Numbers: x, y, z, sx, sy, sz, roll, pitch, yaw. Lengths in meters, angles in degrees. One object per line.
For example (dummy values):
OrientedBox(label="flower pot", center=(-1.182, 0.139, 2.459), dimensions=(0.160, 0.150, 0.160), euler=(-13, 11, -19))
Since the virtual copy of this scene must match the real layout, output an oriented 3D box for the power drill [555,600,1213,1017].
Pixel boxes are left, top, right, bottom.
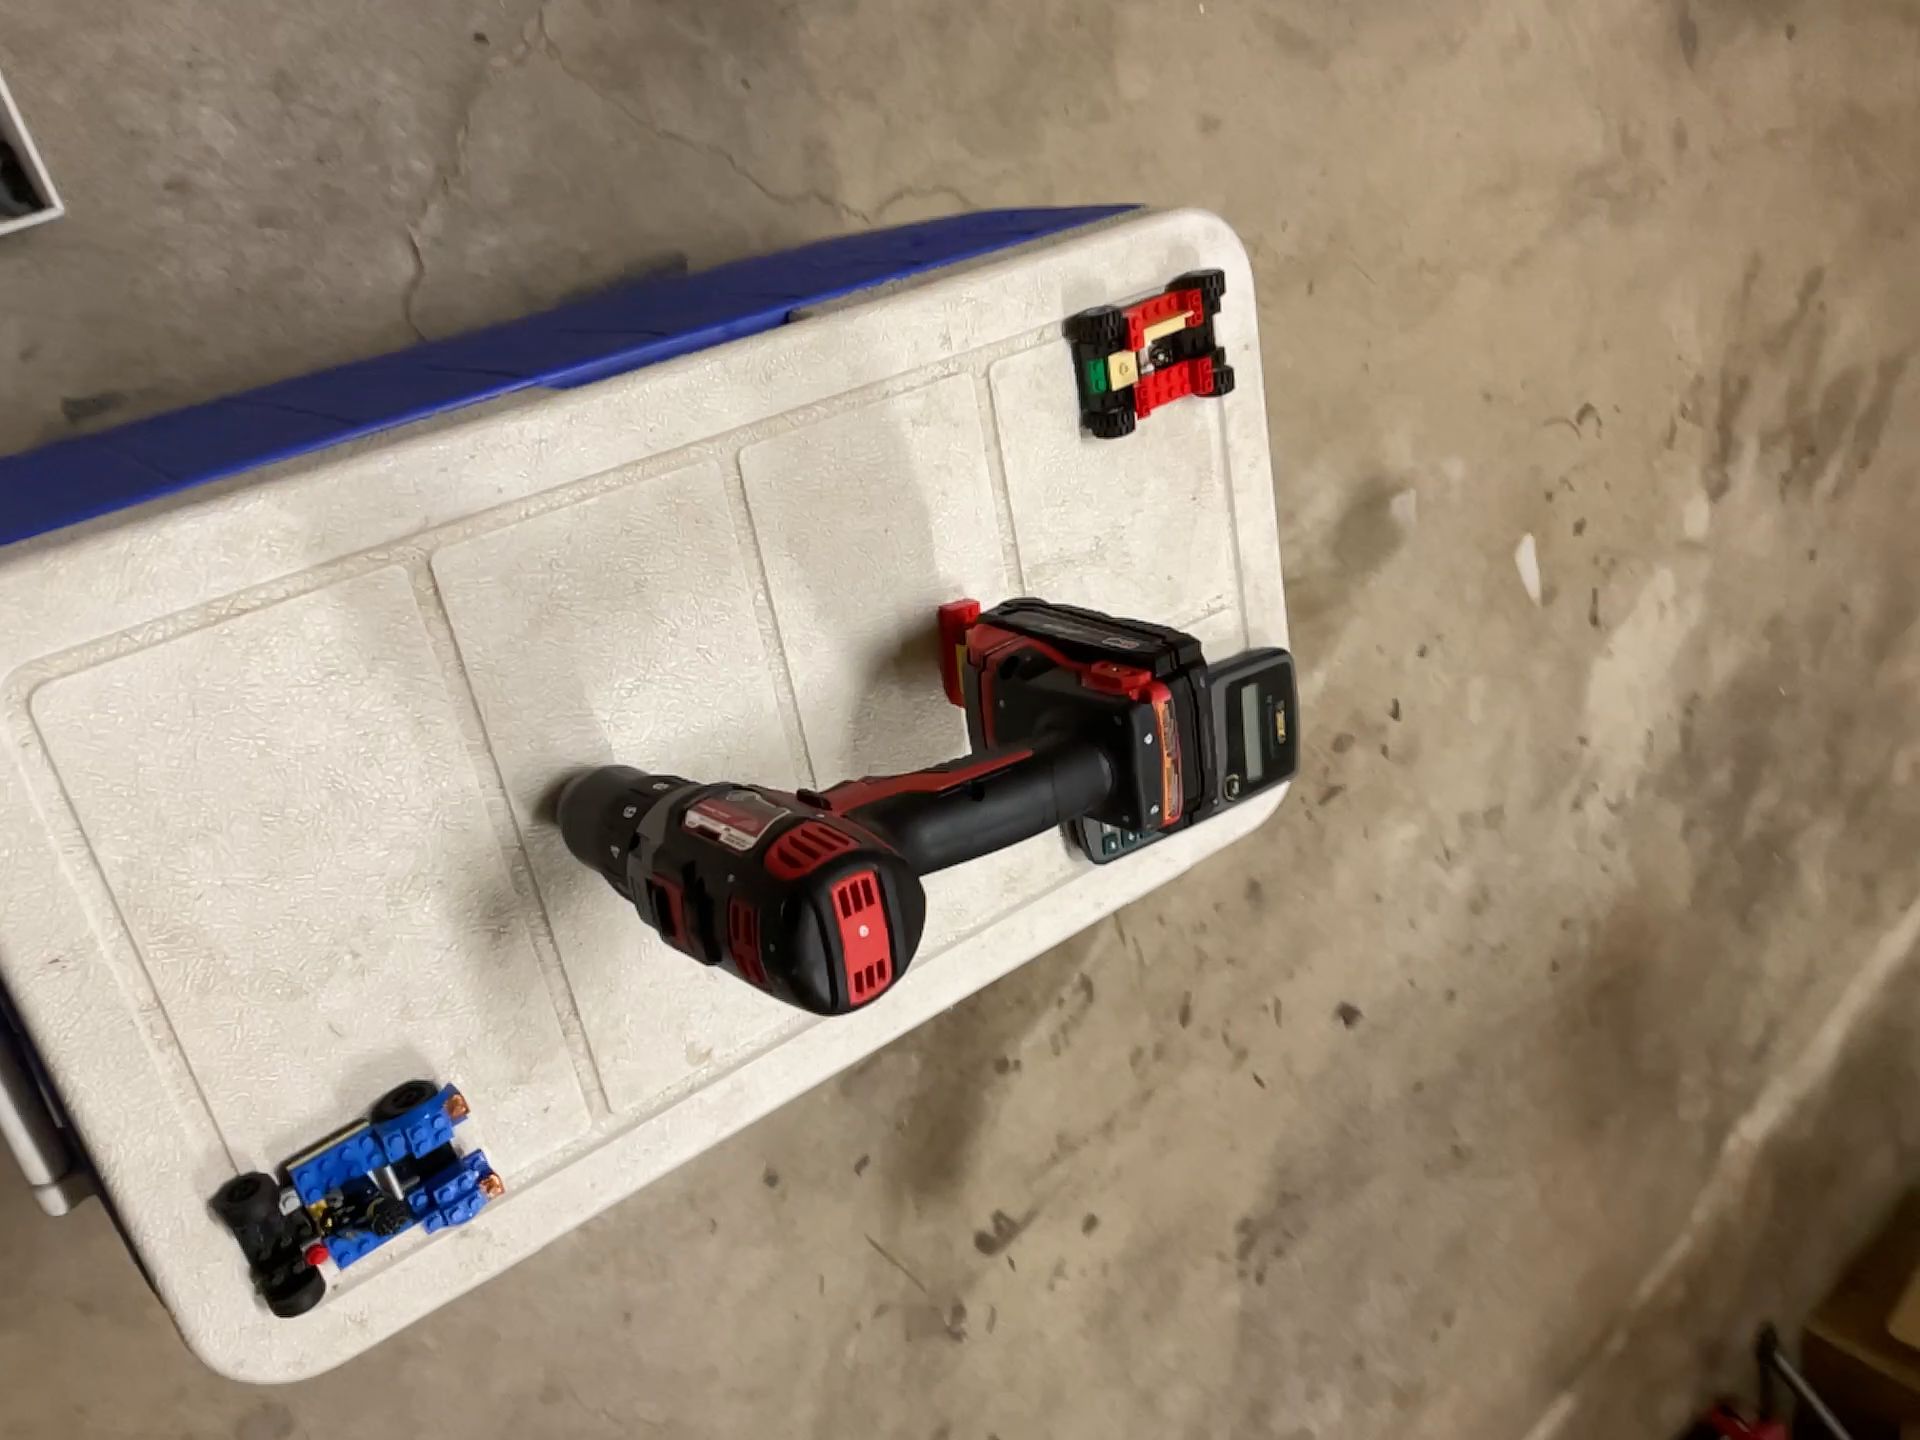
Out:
OrientedBox(label="power drill", center=(-0.032, 0.025, 0.627), dimensions=(0.227, 0.188, 0.080), euler=(-24, 118, -36))
